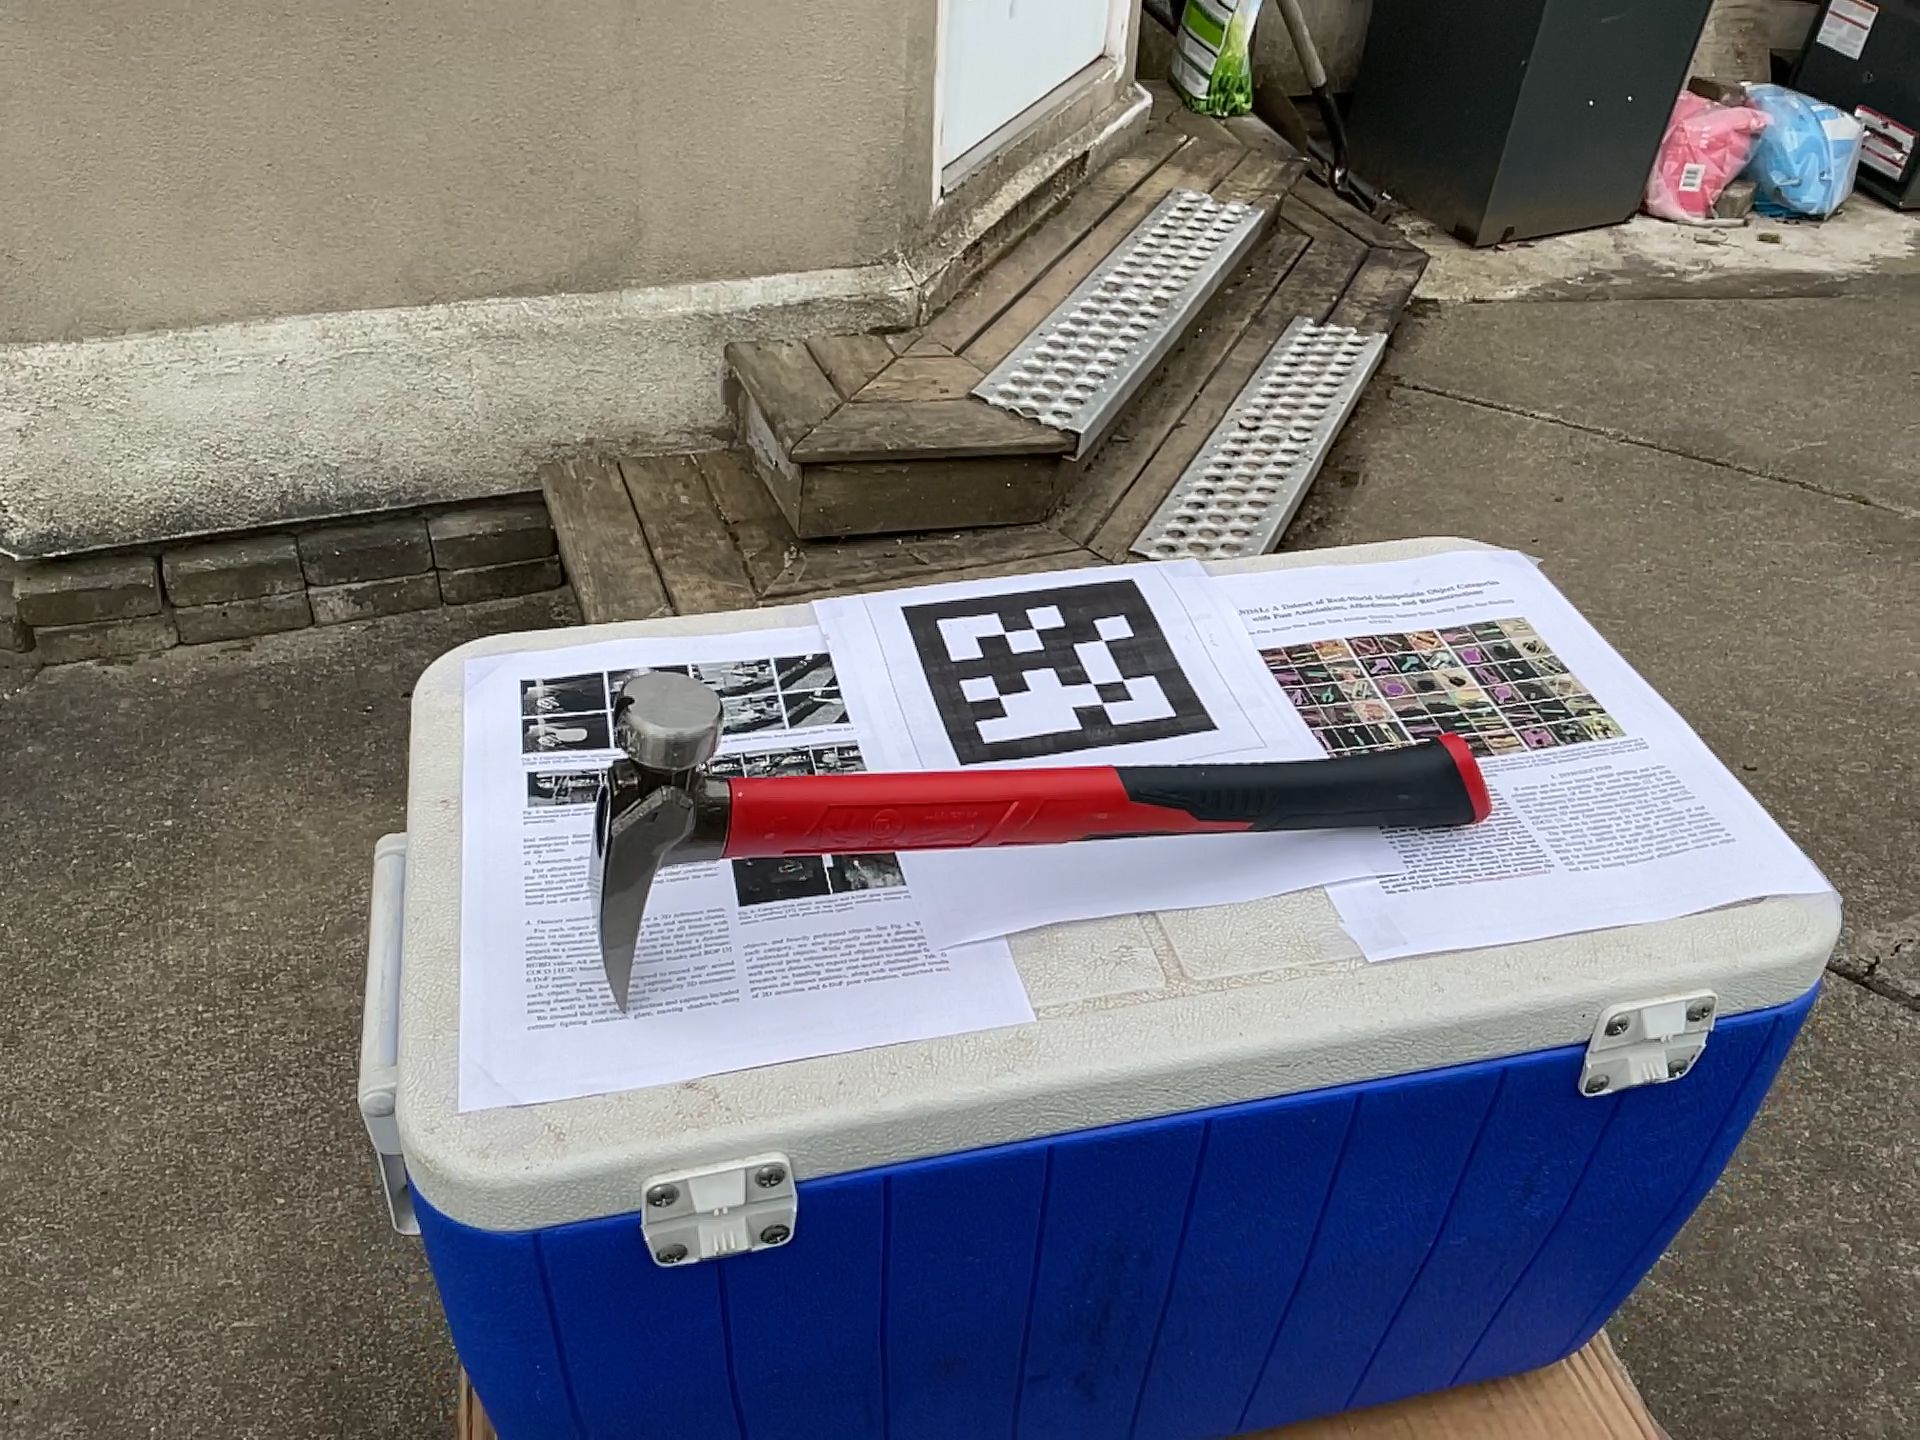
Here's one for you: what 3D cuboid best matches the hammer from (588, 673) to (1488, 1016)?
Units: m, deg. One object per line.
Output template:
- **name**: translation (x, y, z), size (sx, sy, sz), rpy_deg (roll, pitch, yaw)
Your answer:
- **hammer**: translation (0.046, 0.047, 0.655), size (0.386, 0.143, 0.038), rpy_deg (-1, 38, -22)
